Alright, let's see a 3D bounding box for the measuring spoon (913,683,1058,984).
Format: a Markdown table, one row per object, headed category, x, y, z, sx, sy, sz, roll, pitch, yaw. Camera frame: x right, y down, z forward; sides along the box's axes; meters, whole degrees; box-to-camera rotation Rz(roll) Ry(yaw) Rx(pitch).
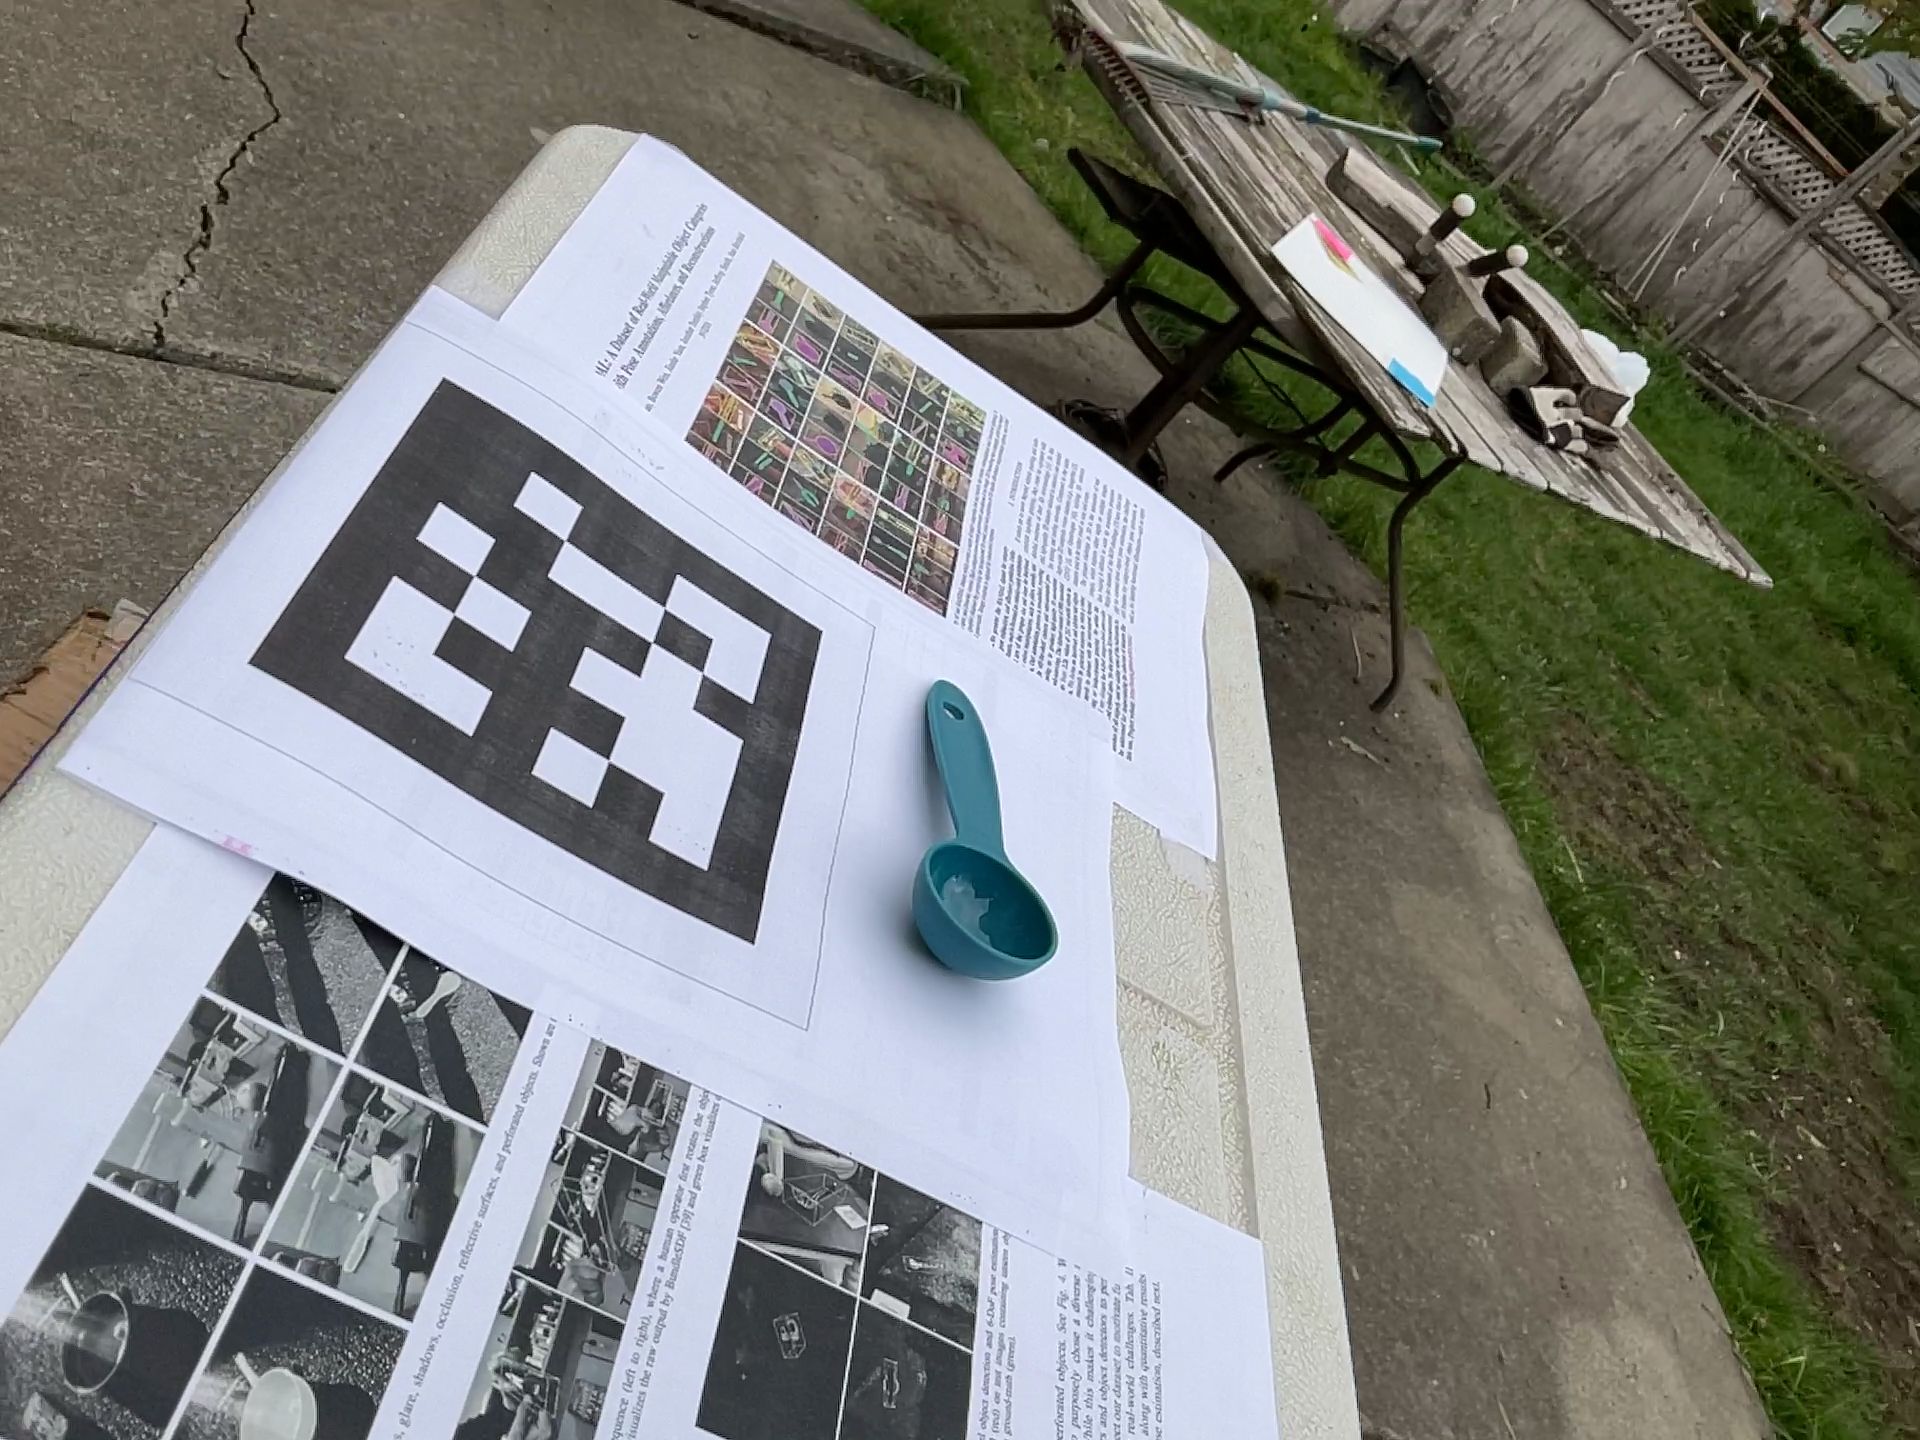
| category | x | y | z | sx | sy | sz | roll | pitch | yaw |
| --- | --- | --- | --- | --- | --- | --- | --- | --- | --- |
| measuring spoon | -0.001 | 0.030 | 0.454 | 0.042 | 0.021 | 0.129 | 29 | 25 | -22 |
